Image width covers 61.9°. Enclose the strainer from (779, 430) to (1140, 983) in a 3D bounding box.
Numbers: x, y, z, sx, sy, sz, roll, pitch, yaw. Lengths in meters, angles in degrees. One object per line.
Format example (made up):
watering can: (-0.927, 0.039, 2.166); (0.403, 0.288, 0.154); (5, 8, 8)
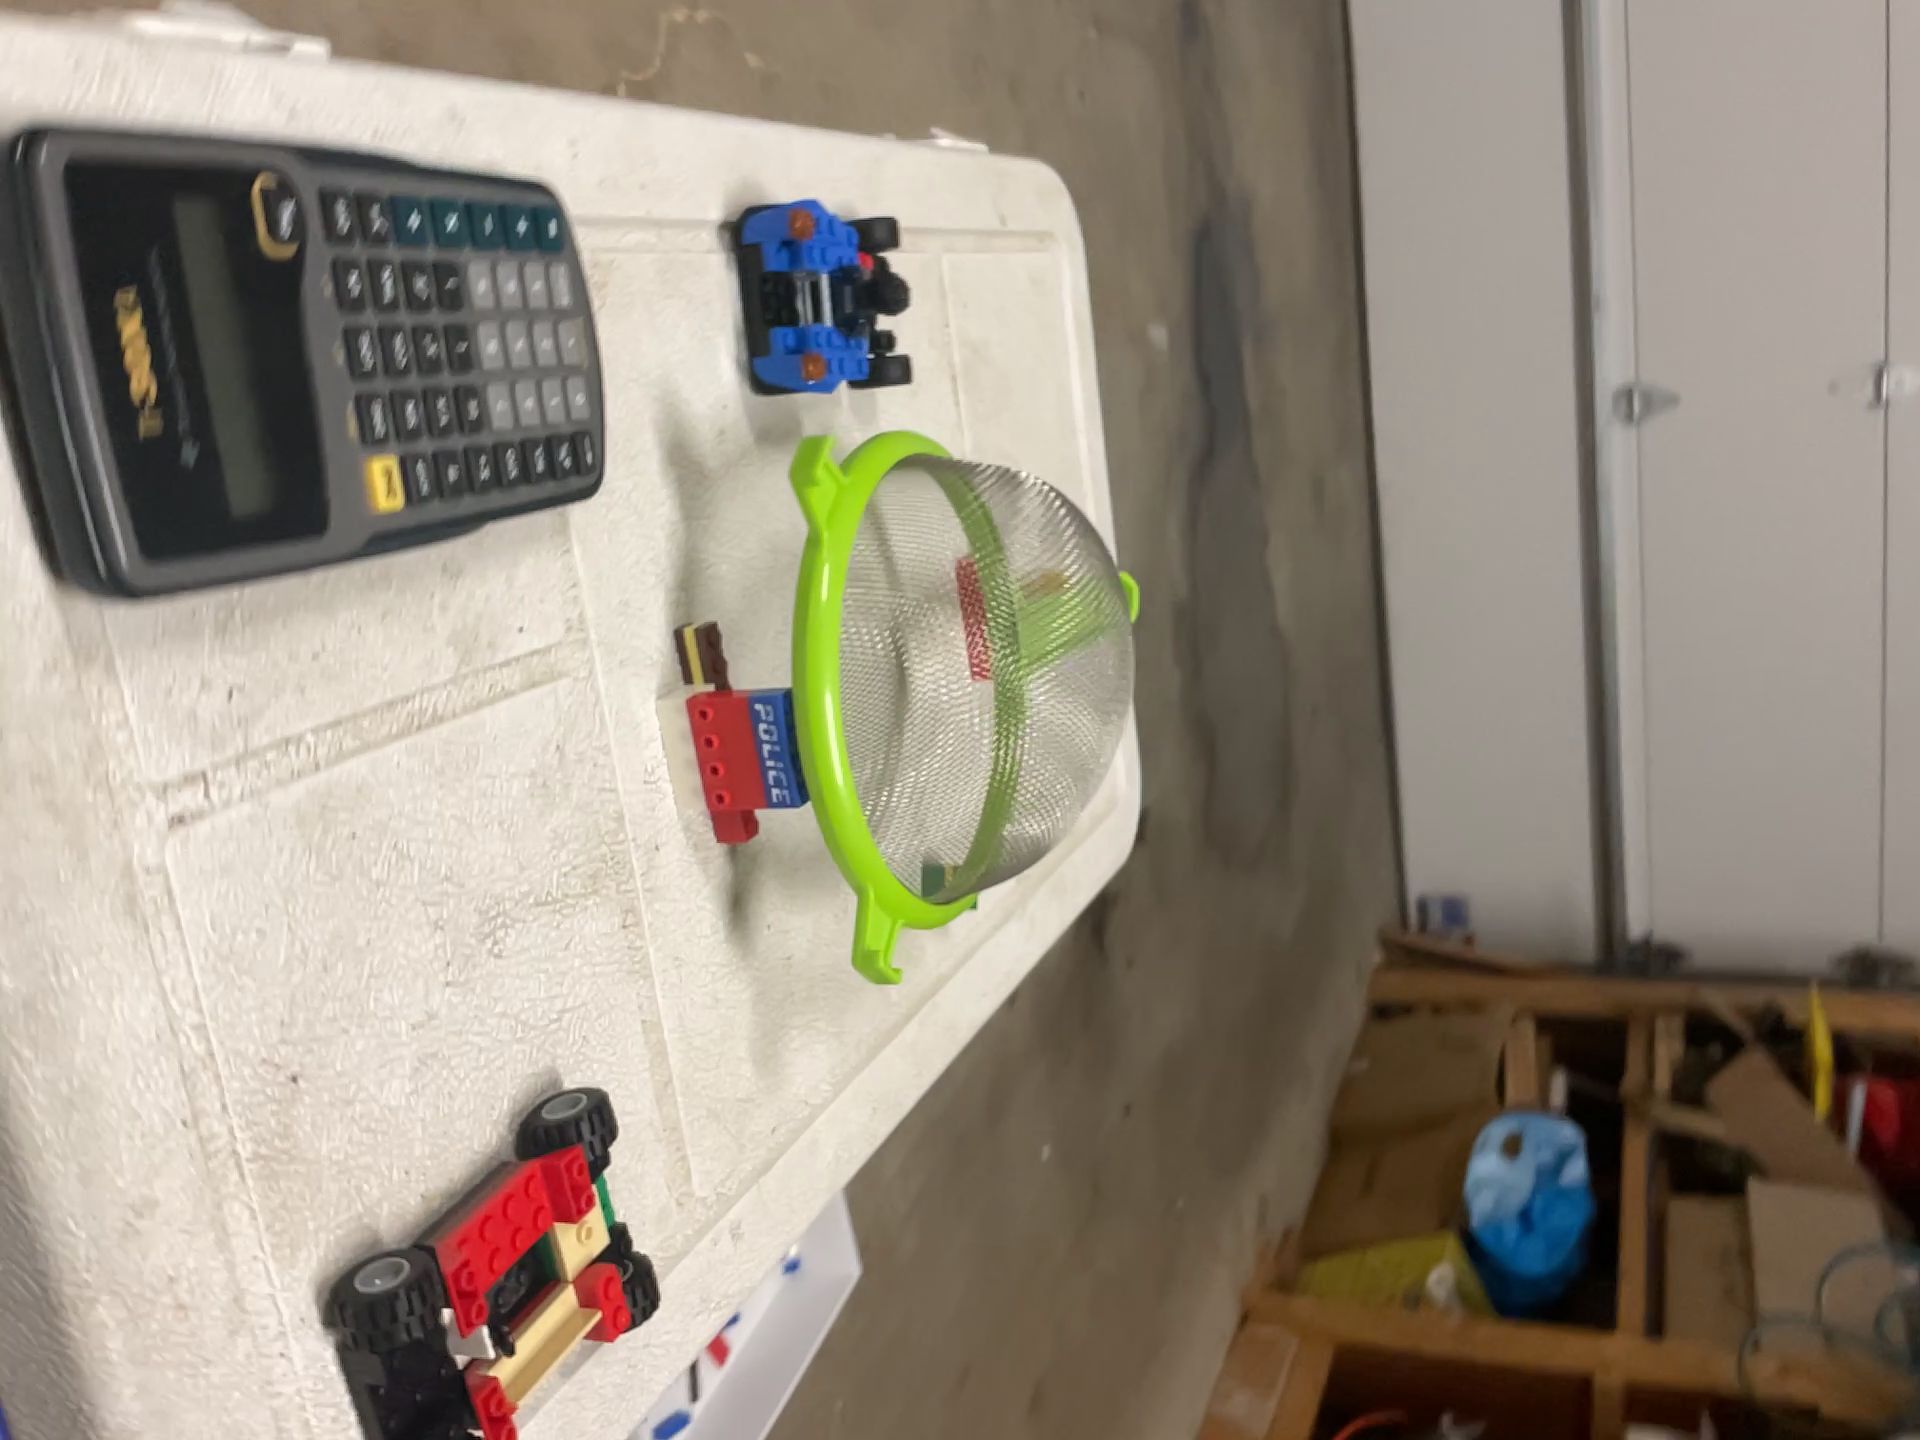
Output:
strainer: (0.035, -0.025, 0.524); (0.256, 0.069, 0.151); (-27, 111, -63)
